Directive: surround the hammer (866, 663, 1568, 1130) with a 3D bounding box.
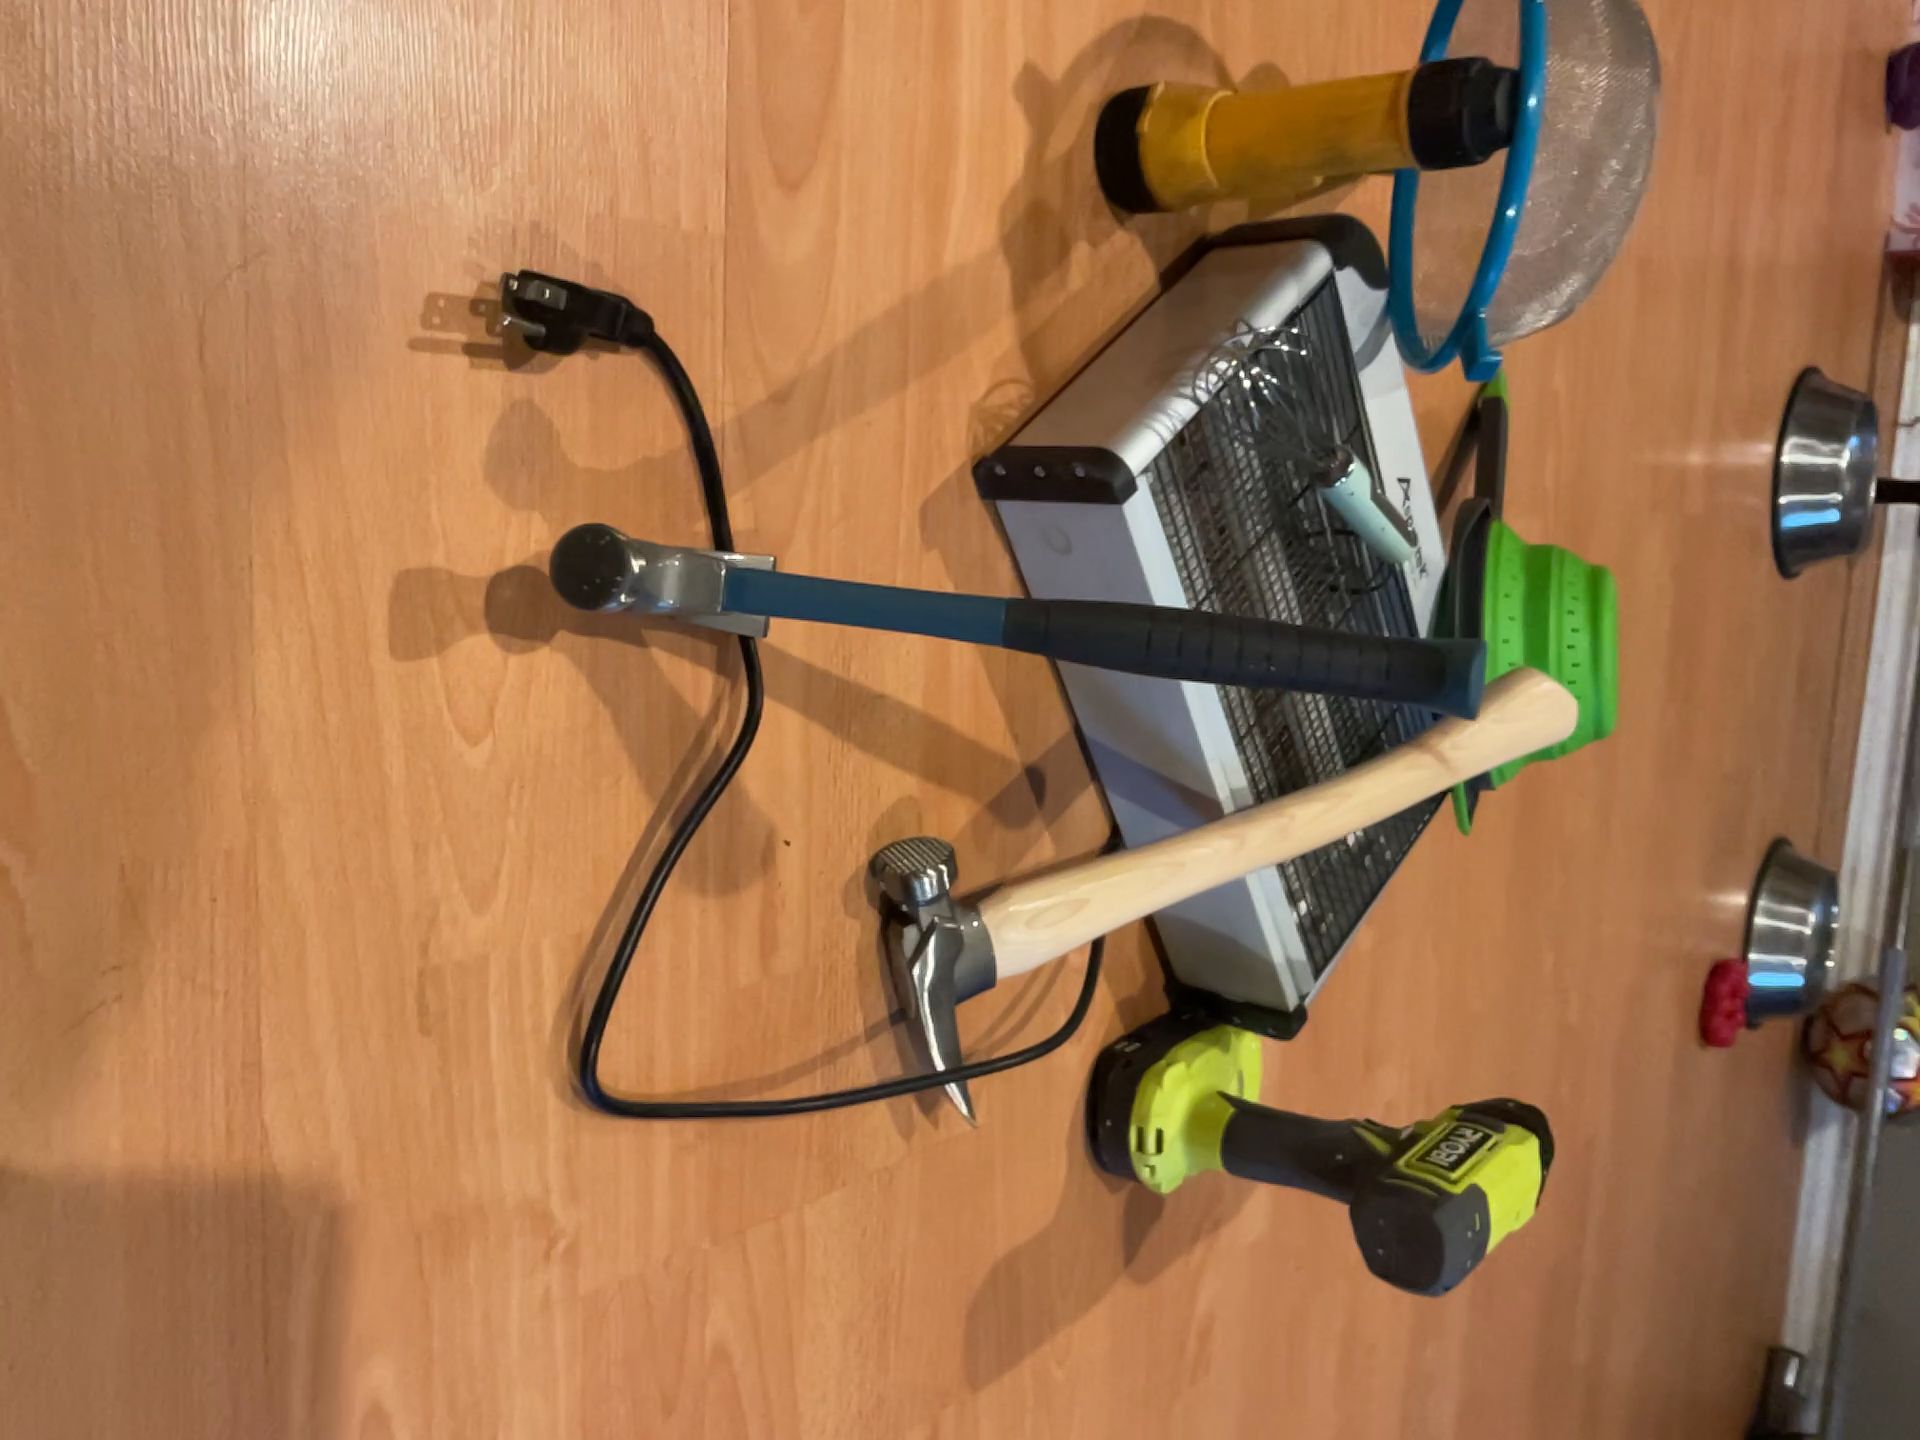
[{"bbox_3d":[0.151,0.068,0.824,0.411,0.038,0.146,-20,113,-21],"label":"hammer"}]

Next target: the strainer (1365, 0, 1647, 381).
[{"bbox_3d":[0.285,-0.296,0.853,0.340,0.095,0.210,-78,174,-69],"label":"strainer"}]

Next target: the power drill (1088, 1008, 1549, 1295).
[{"bbox_3d":[0.199,0.227,0.886,0.171,0.223,0.080,-14,108,-49],"label":"power drill"}]

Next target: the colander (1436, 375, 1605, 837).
[{"bbox_3d":[0.386,-0.104,1.083,0.204,0.094,0.397,65,33,-43],"label":"colander"}]

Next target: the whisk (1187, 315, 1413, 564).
[{"bbox_3d":[0.183,-0.133,0.812,0.246,0.059,0.058,28,46,-53],"label":"whisk"}]

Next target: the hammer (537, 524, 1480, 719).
[{"bbox_3d":[0.027,-0.034,0.582,0.128,0.331,0.033,-97,-166,-87],"label":"hammer"}]
